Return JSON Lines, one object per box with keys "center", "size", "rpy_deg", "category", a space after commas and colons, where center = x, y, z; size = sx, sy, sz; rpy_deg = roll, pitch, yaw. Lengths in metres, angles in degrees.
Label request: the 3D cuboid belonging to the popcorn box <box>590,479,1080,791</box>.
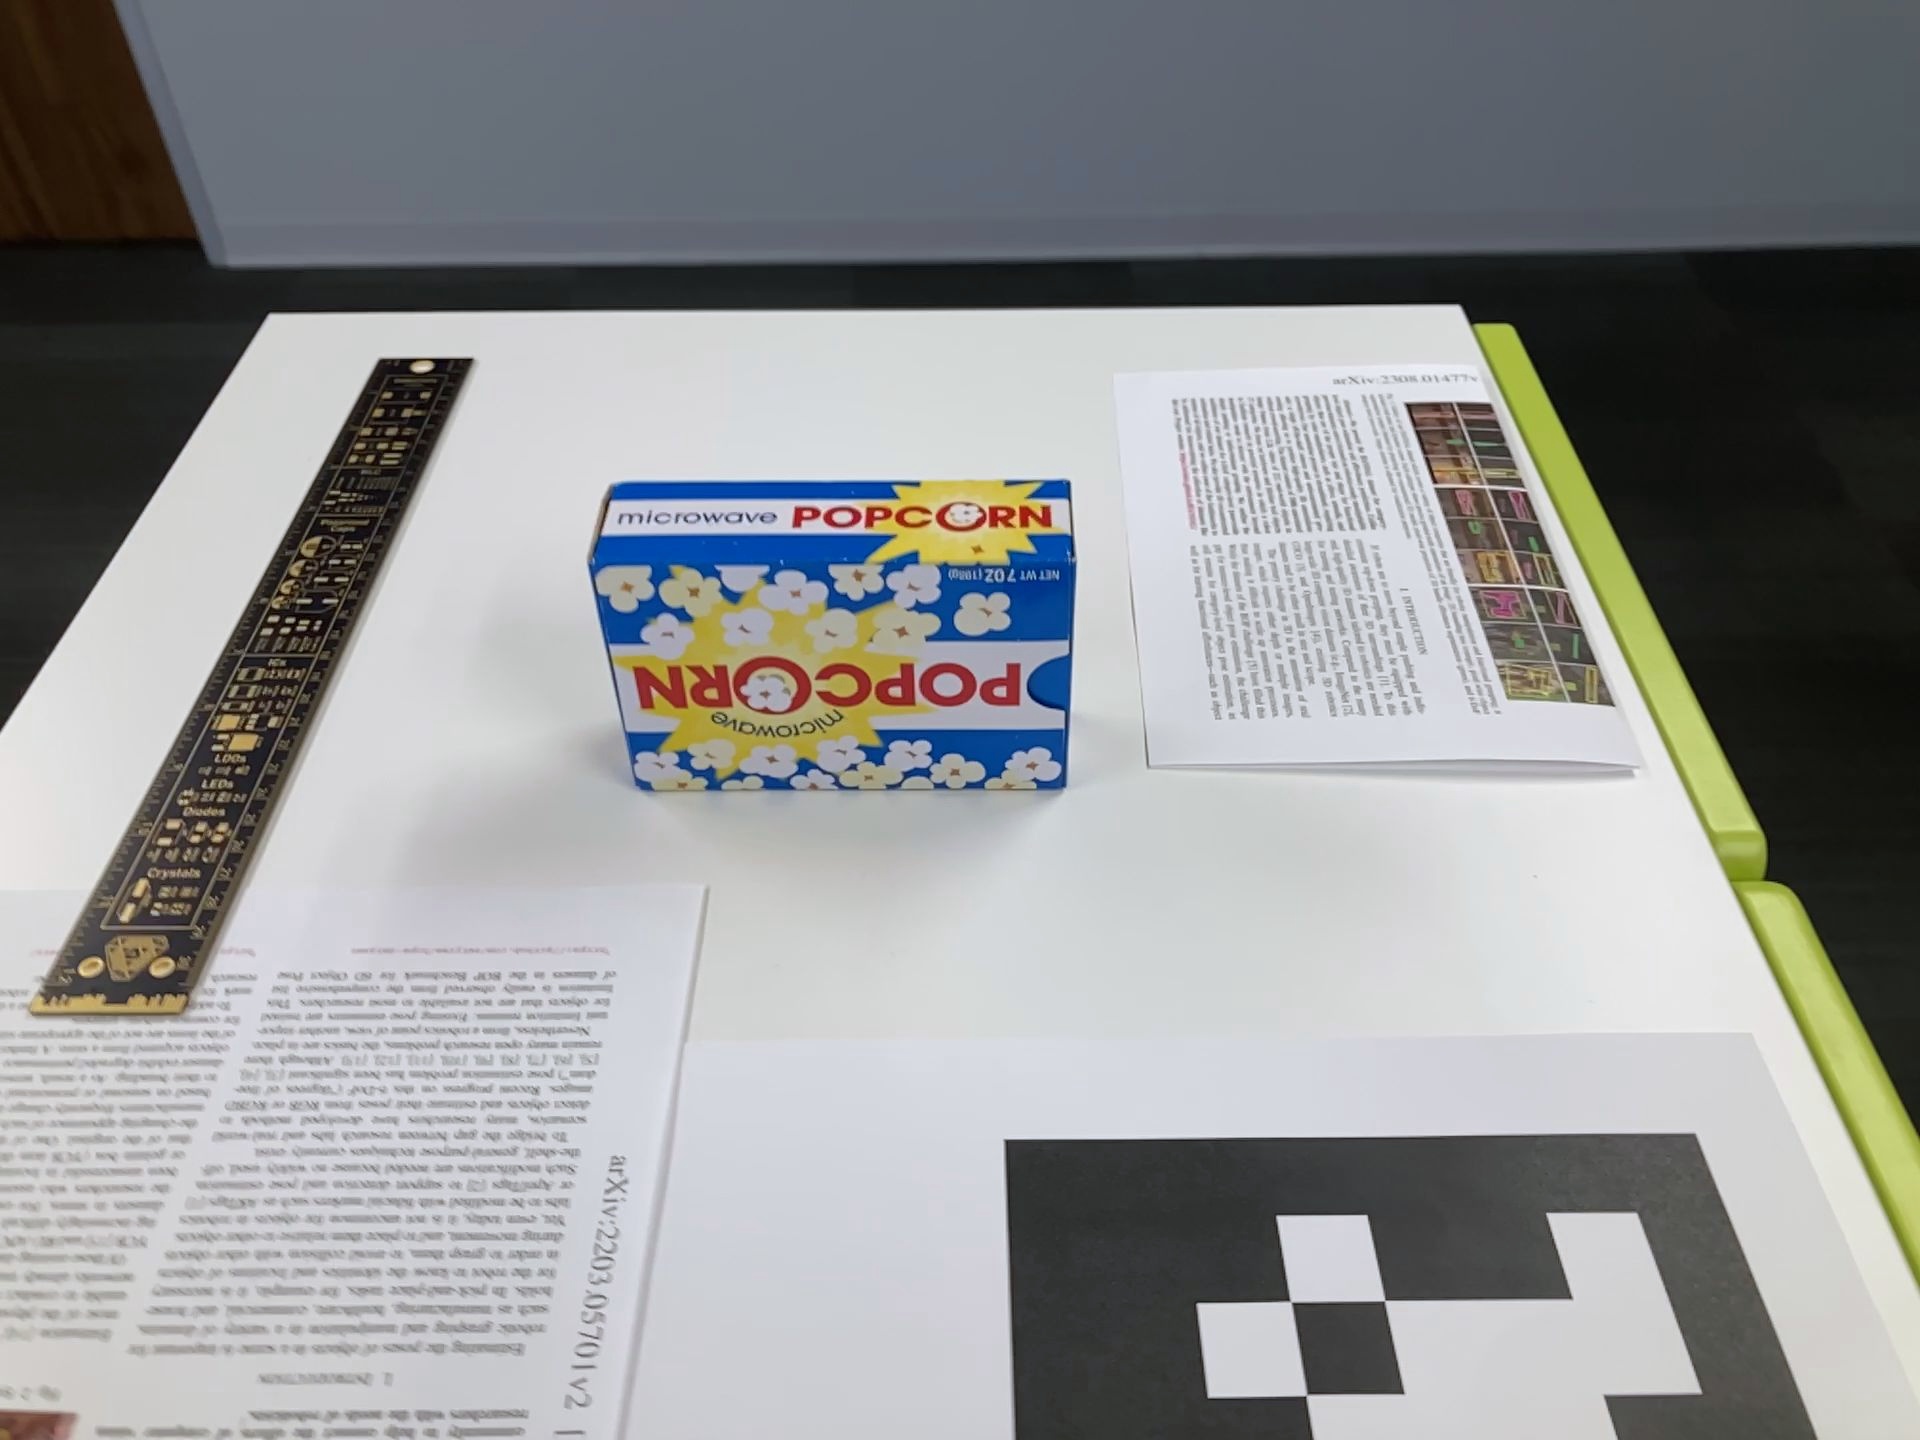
{"center": [-0.032, -0.022, 0.442], "size": [0.126, 0.085, 0.038], "rpy_deg": [0, 42, 1], "category": "popcorn box"}
